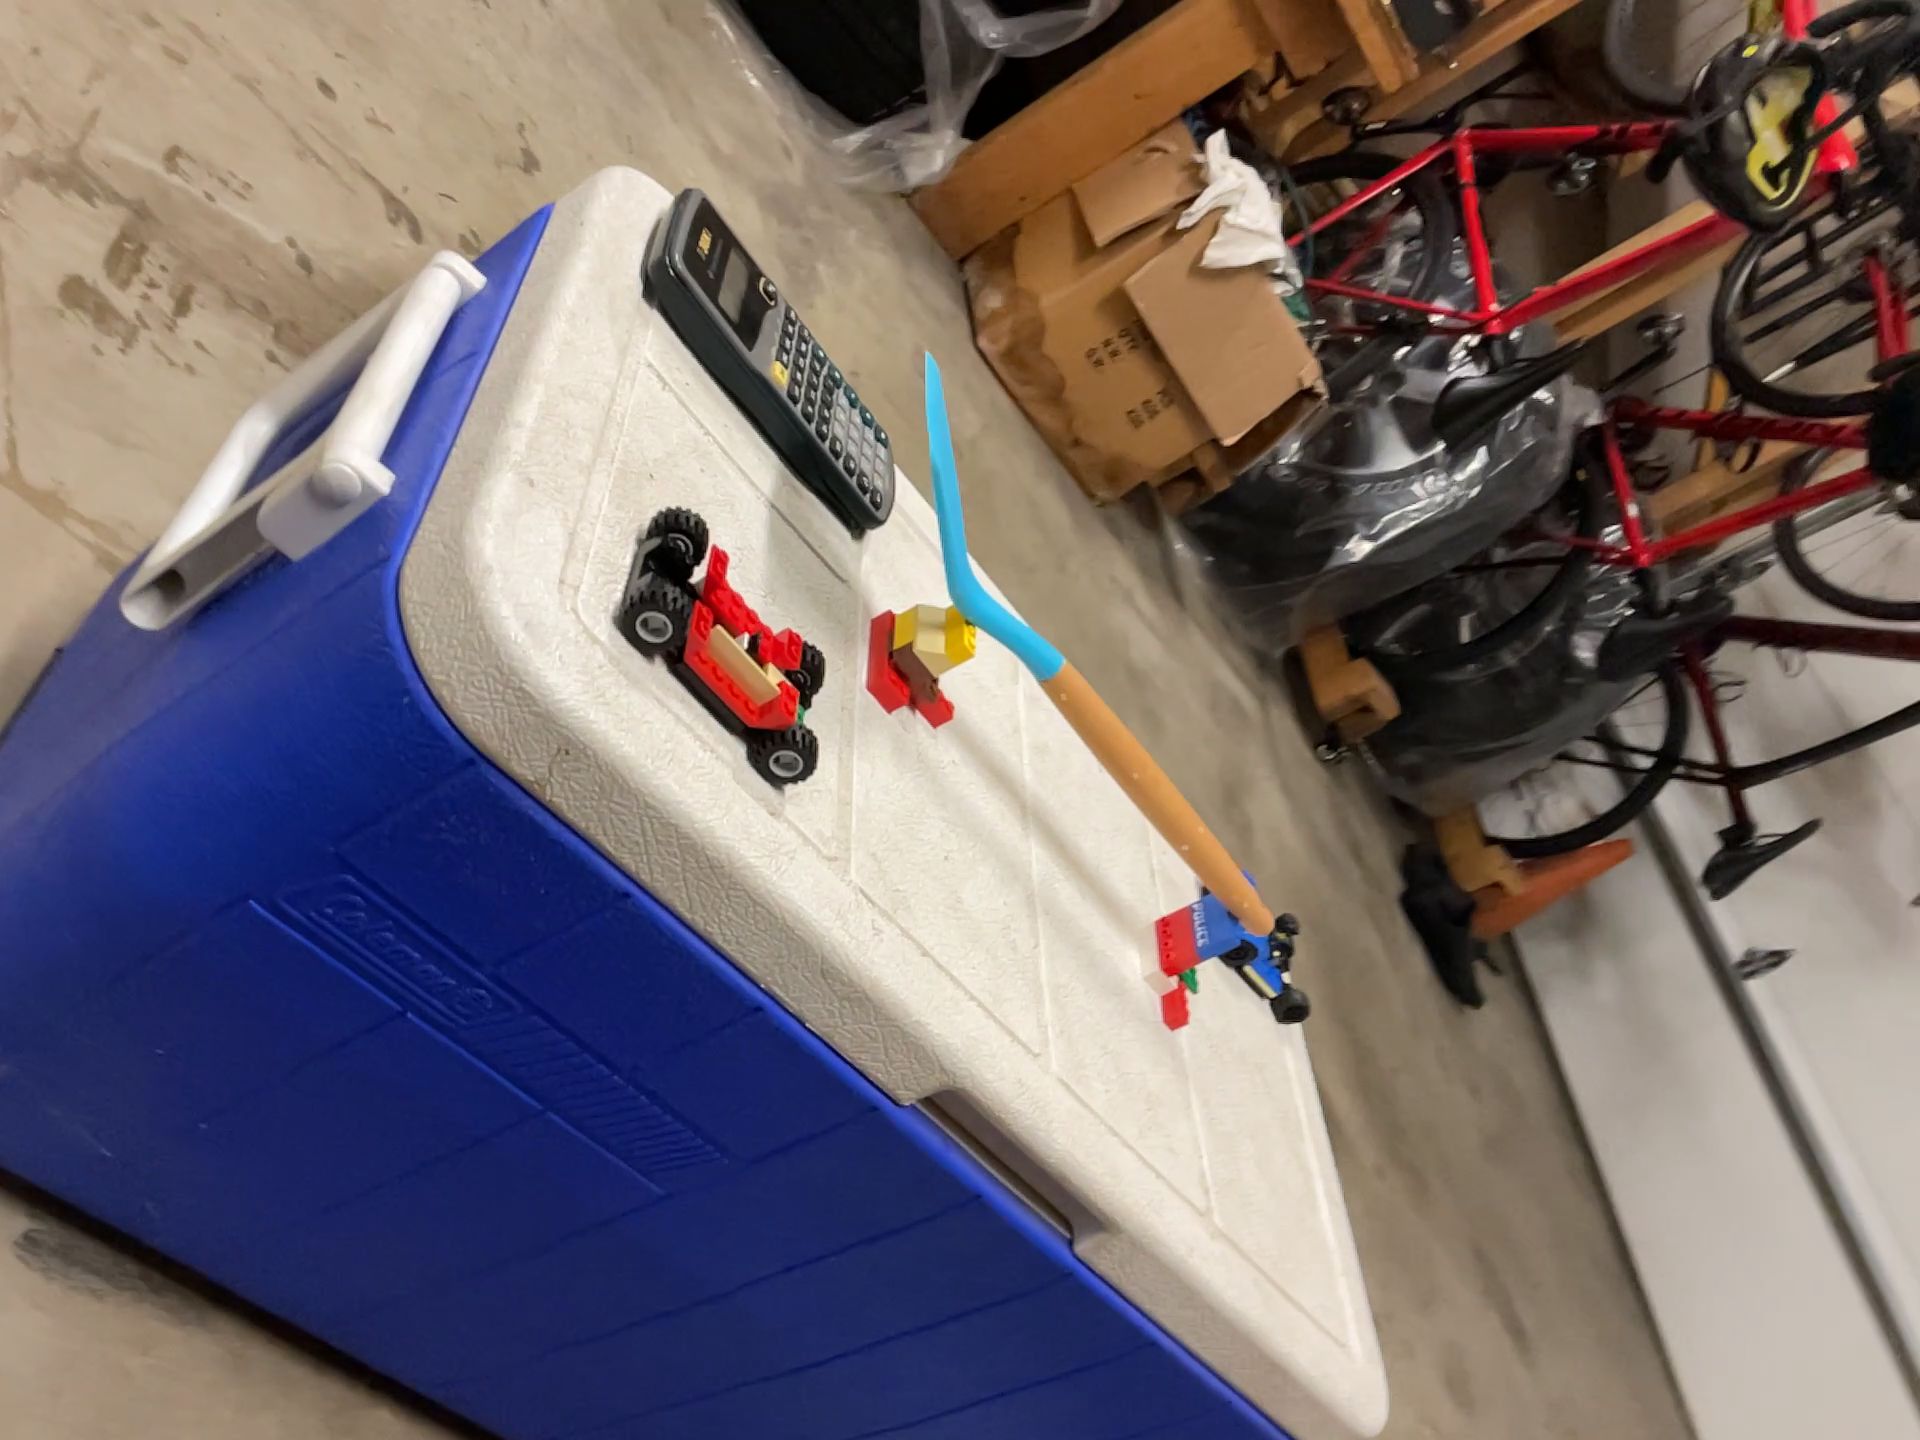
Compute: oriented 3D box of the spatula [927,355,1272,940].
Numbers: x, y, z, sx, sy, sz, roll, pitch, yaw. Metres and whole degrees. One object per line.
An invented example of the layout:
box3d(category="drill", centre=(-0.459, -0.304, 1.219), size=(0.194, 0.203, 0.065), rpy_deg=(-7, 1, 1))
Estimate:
box3d(category="spatula", centre=(0.061, -0.008, 0.667), size=(0.317, 0.044, 0.083), rpy_deg=(49, 21, -31))
